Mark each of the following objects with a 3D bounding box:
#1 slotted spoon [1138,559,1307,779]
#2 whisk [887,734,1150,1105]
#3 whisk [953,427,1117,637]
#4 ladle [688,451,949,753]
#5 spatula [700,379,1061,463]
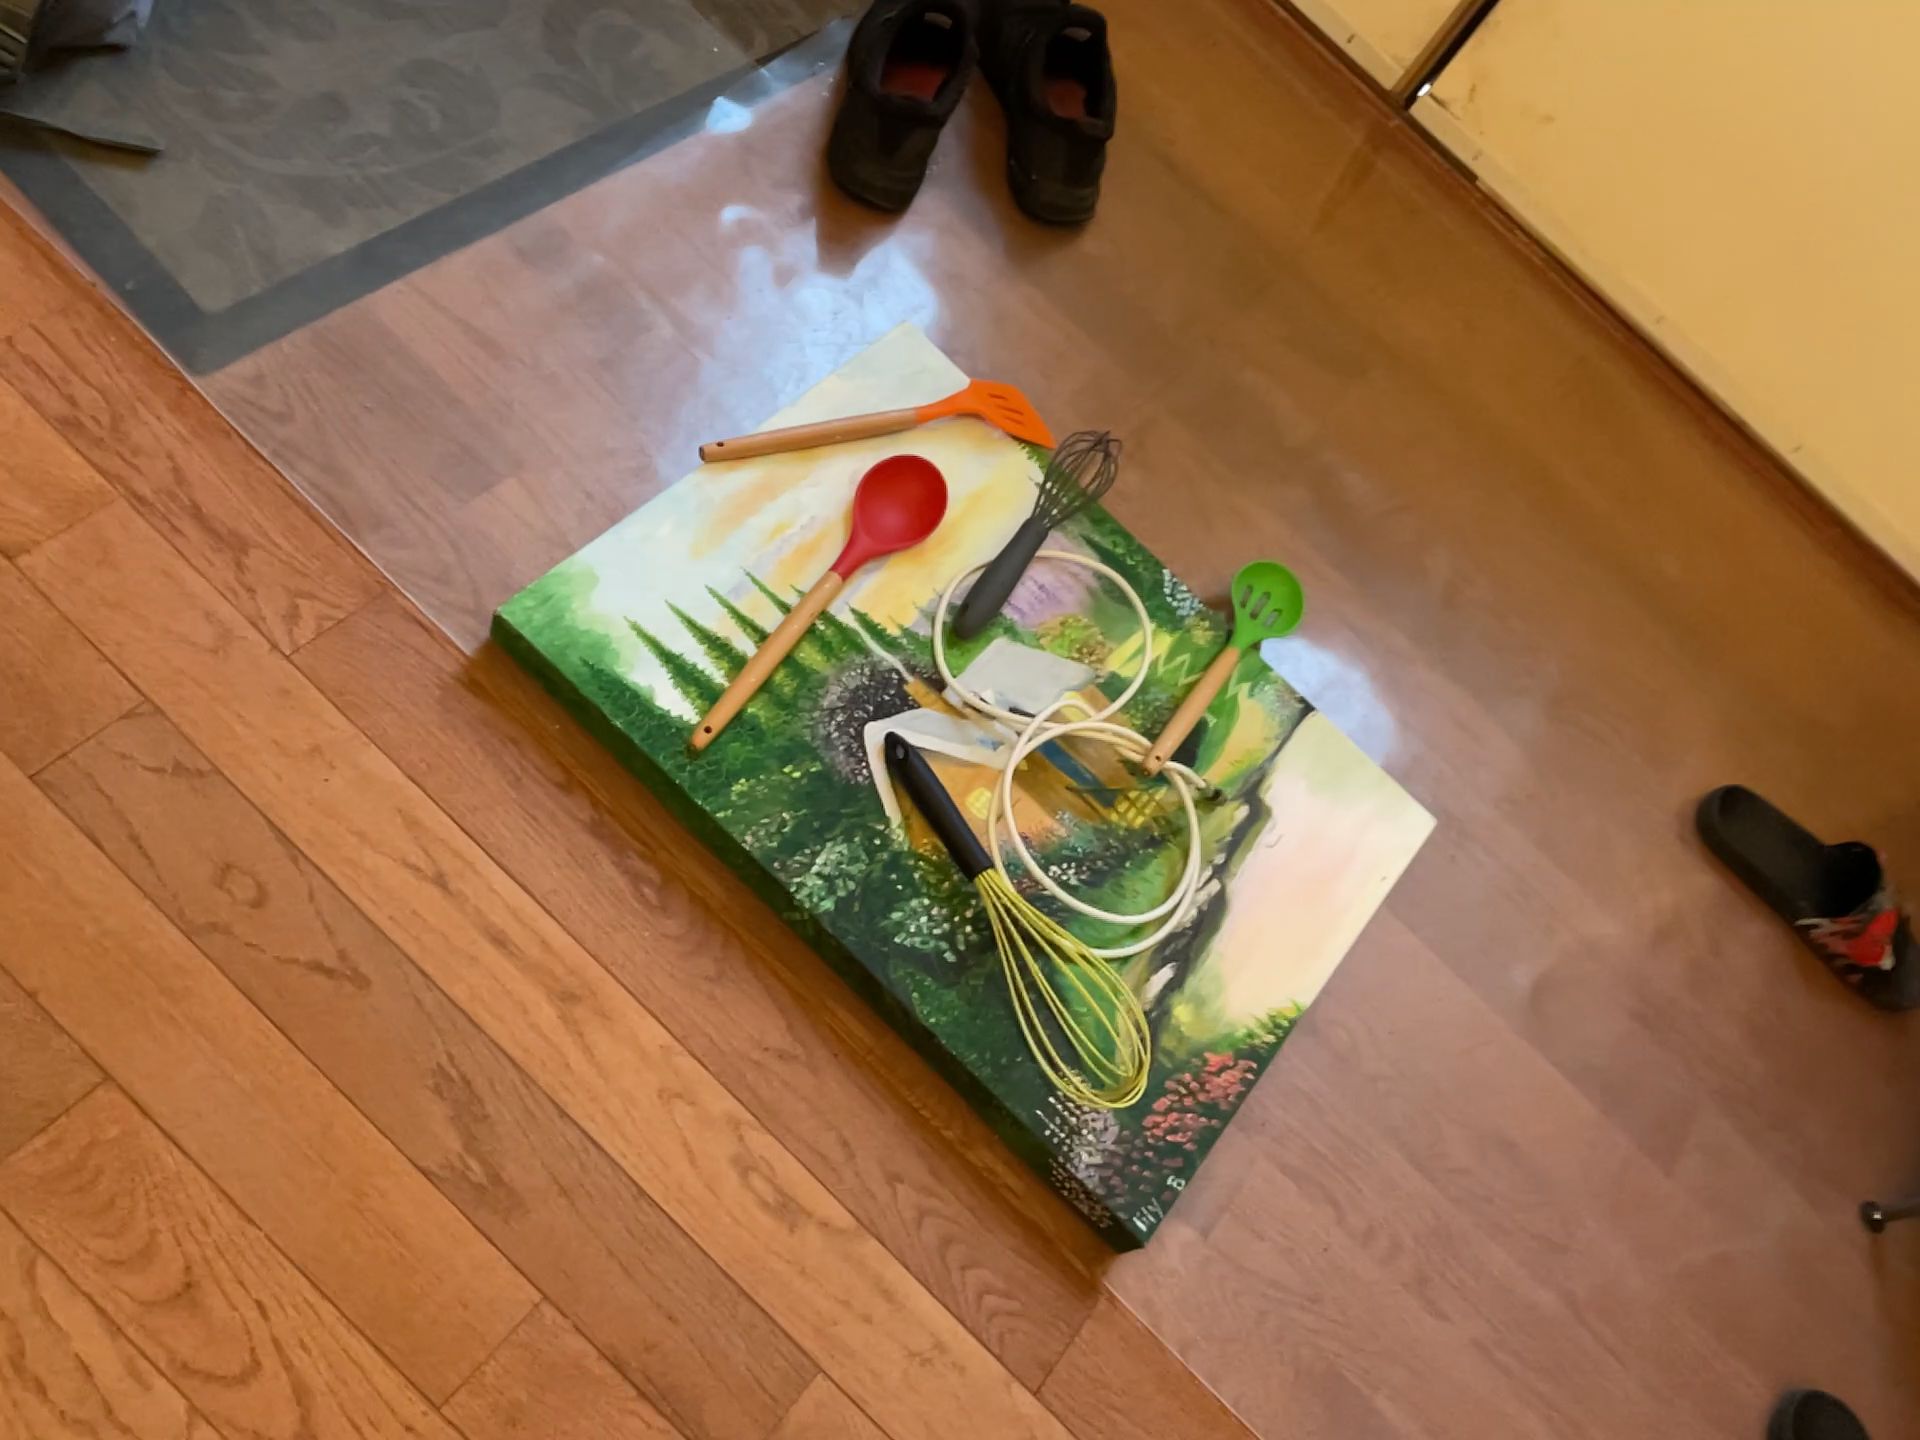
[{"bbox_3d":[0.209,-0.042,1.283,0.070,0.031,0.314,42,44,0],"label":"slotted spoon"},{"bbox_3d":[0.033,0.135,1.110,0.080,0.067,0.312,-22,69,-36],"label":"whisk"},{"bbox_3d":[0.062,-0.152,1.271,0.055,0.055,0.239,32,62,7],"label":"whisk"},{"bbox_3d":[-0.105,-0.089,1.177,0.069,0.031,0.316,36,59,-1],"label":"ladle"},{"bbox_3d":[-0.060,-0.234,1.282,0.322,0.041,0.081,-16,61,-28],"label":"spatula"}]
